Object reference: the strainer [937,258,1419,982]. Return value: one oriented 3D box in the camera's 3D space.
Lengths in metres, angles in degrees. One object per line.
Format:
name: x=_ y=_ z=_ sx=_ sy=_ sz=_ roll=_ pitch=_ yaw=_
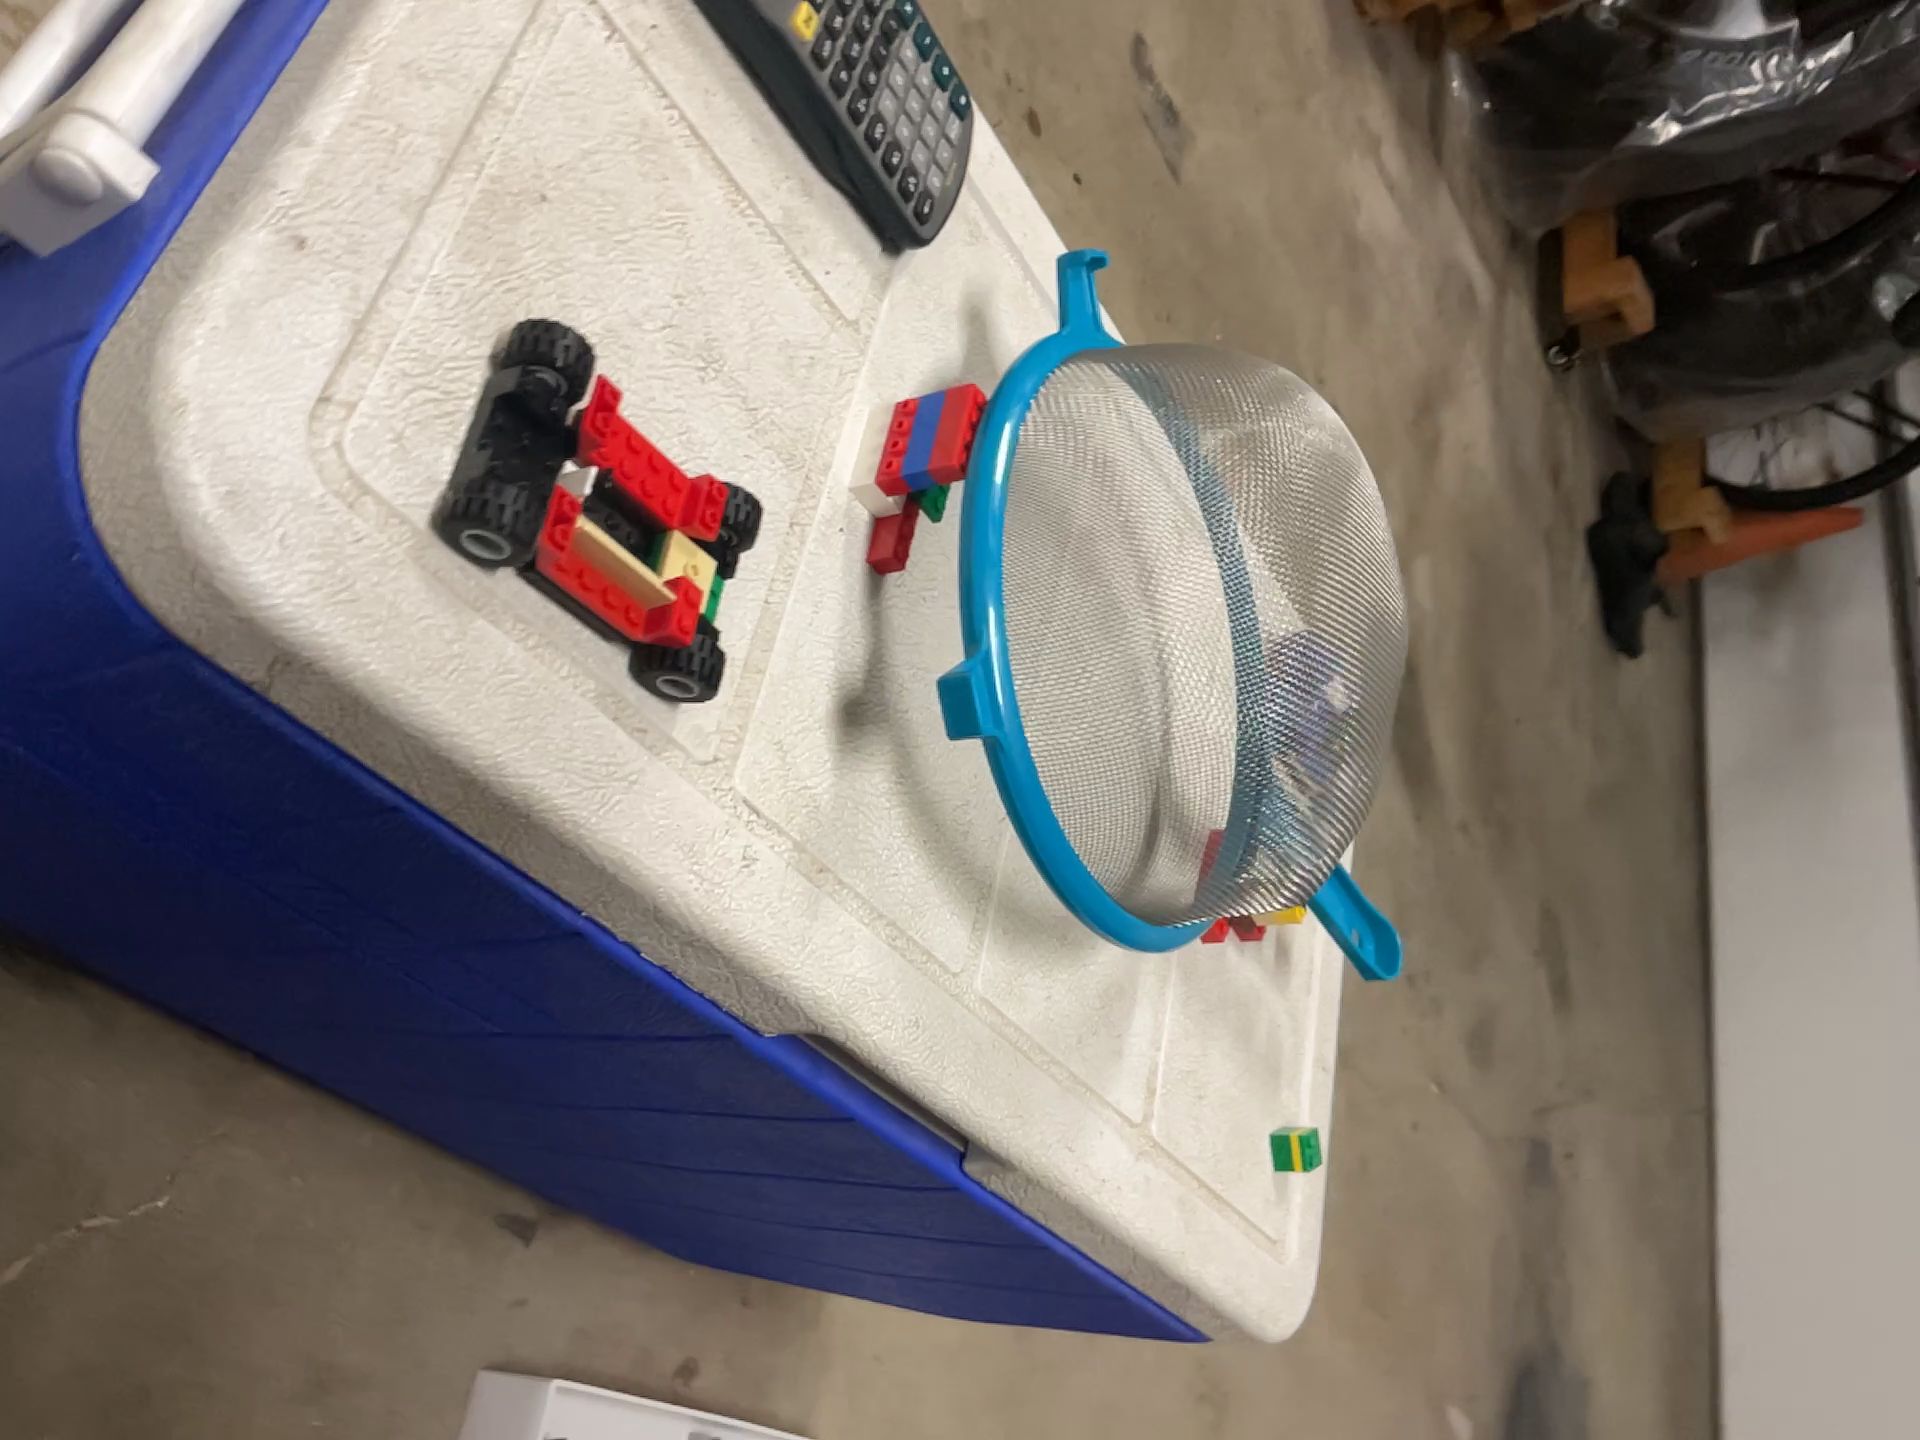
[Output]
strainer: x=0.126 y=0.006 z=0.561 sx=0.340 sy=0.095 sz=0.211 roll=47 pitch=46 yaw=-40
